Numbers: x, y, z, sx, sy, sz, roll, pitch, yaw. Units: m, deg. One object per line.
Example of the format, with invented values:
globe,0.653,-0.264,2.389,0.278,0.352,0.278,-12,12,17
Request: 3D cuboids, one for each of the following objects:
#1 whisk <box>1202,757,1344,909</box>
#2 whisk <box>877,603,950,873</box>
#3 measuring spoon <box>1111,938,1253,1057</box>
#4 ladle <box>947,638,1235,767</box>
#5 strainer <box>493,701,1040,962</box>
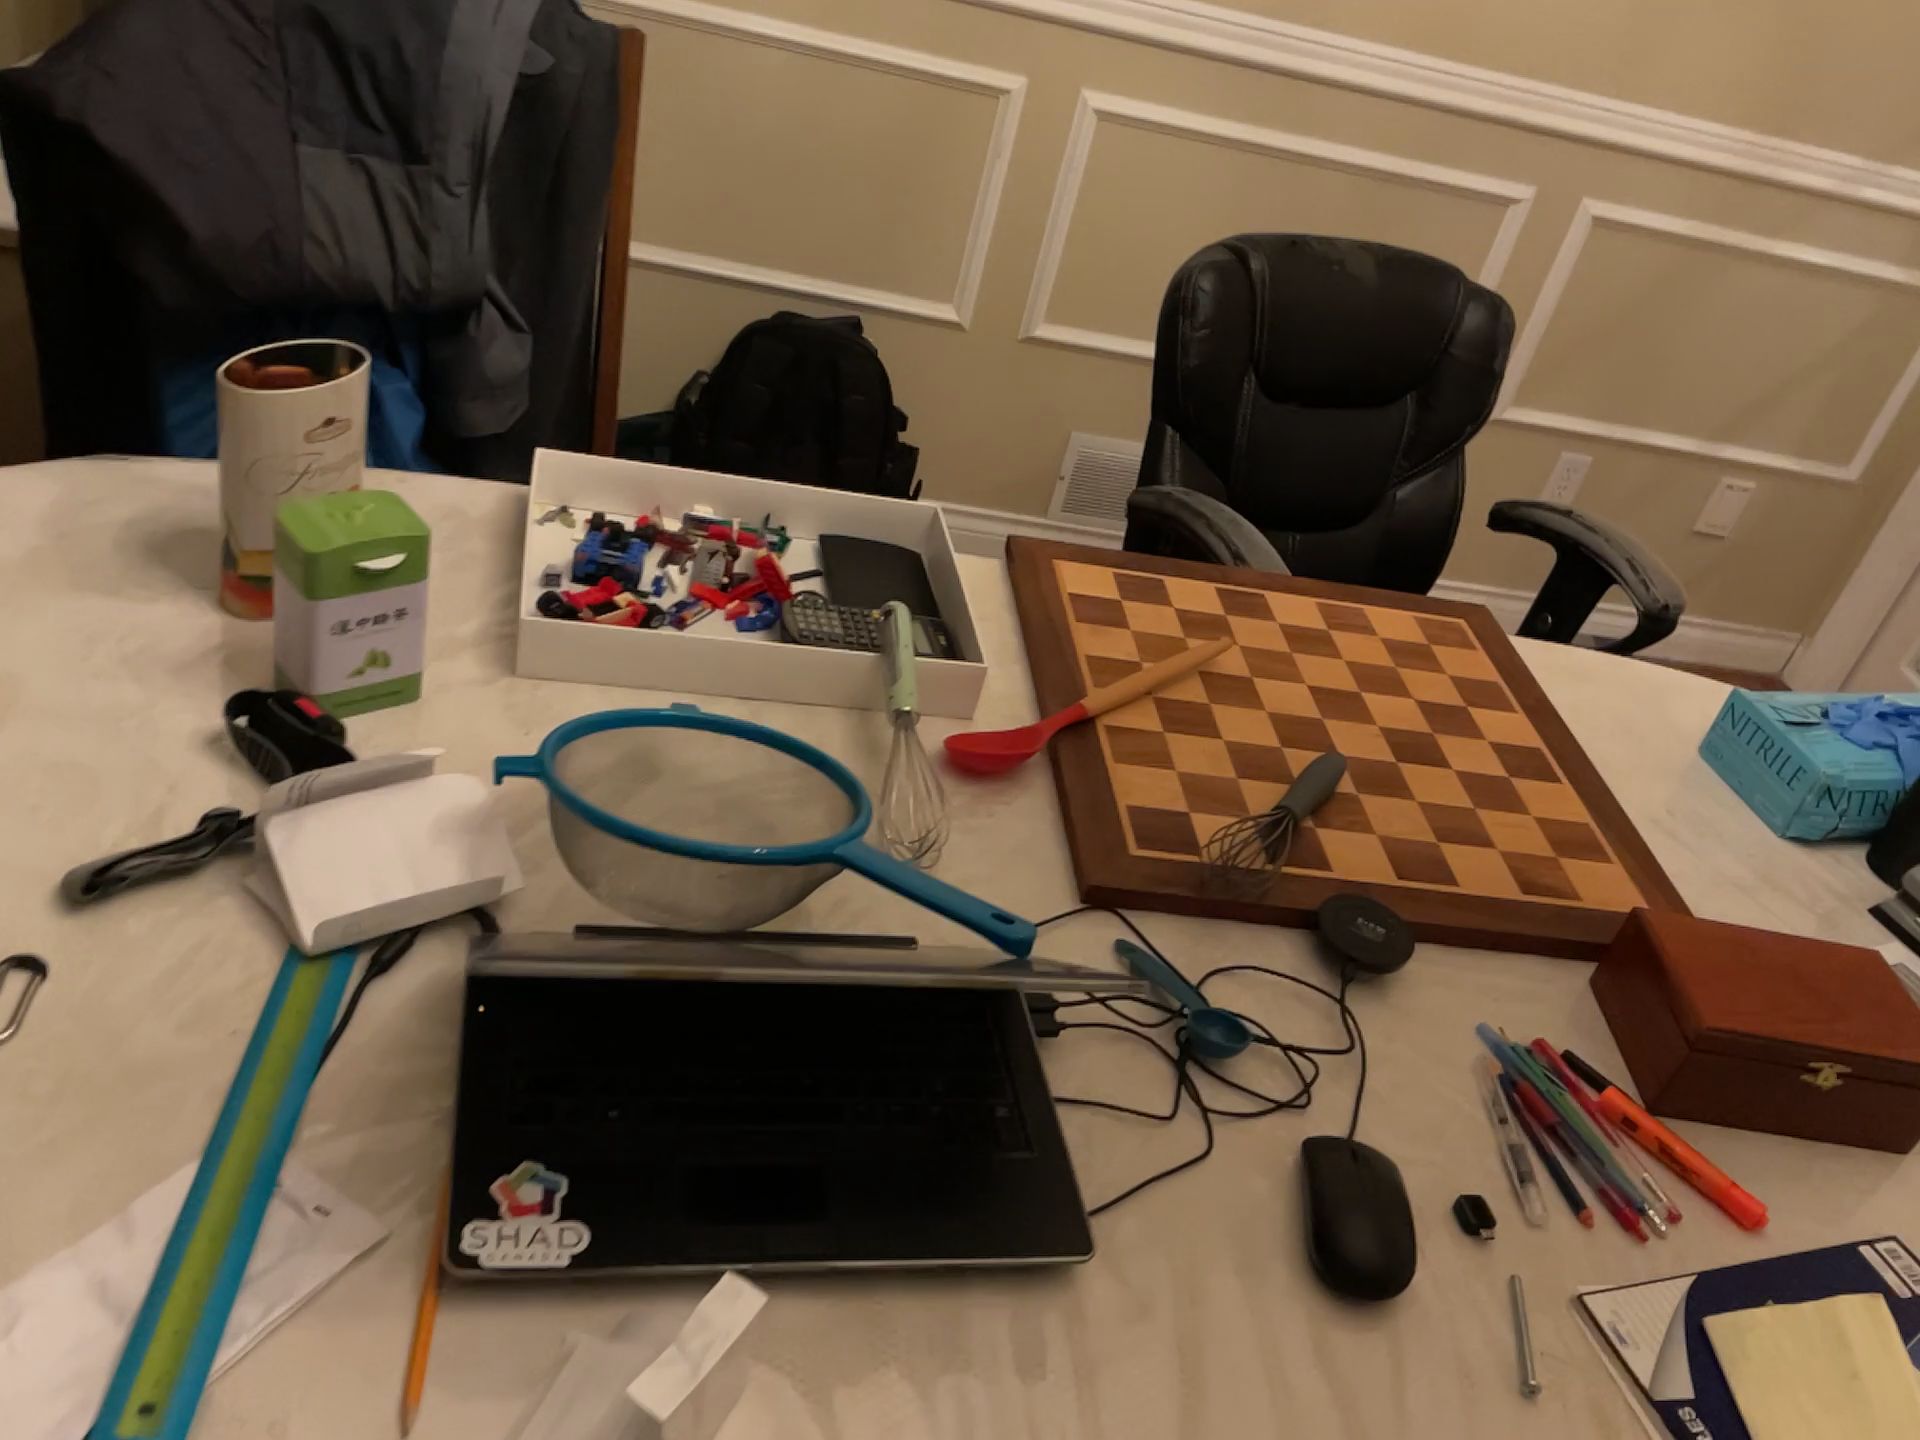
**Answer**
whisk,0.241,0.076,1.182,0.055,0.055,0.239,42,36,13
whisk,-0.041,0.007,1.153,0.059,0.058,0.247,30,38,-36
measuring spoon,0.138,0.182,1.038,0.042,0.021,0.129,-2,25,-37
ladle,0.116,-0.018,1.276,0.315,0.031,0.069,-22,27,-36
strainer,-0.111,0.098,0.978,0.340,0.095,0.211,24,21,21
